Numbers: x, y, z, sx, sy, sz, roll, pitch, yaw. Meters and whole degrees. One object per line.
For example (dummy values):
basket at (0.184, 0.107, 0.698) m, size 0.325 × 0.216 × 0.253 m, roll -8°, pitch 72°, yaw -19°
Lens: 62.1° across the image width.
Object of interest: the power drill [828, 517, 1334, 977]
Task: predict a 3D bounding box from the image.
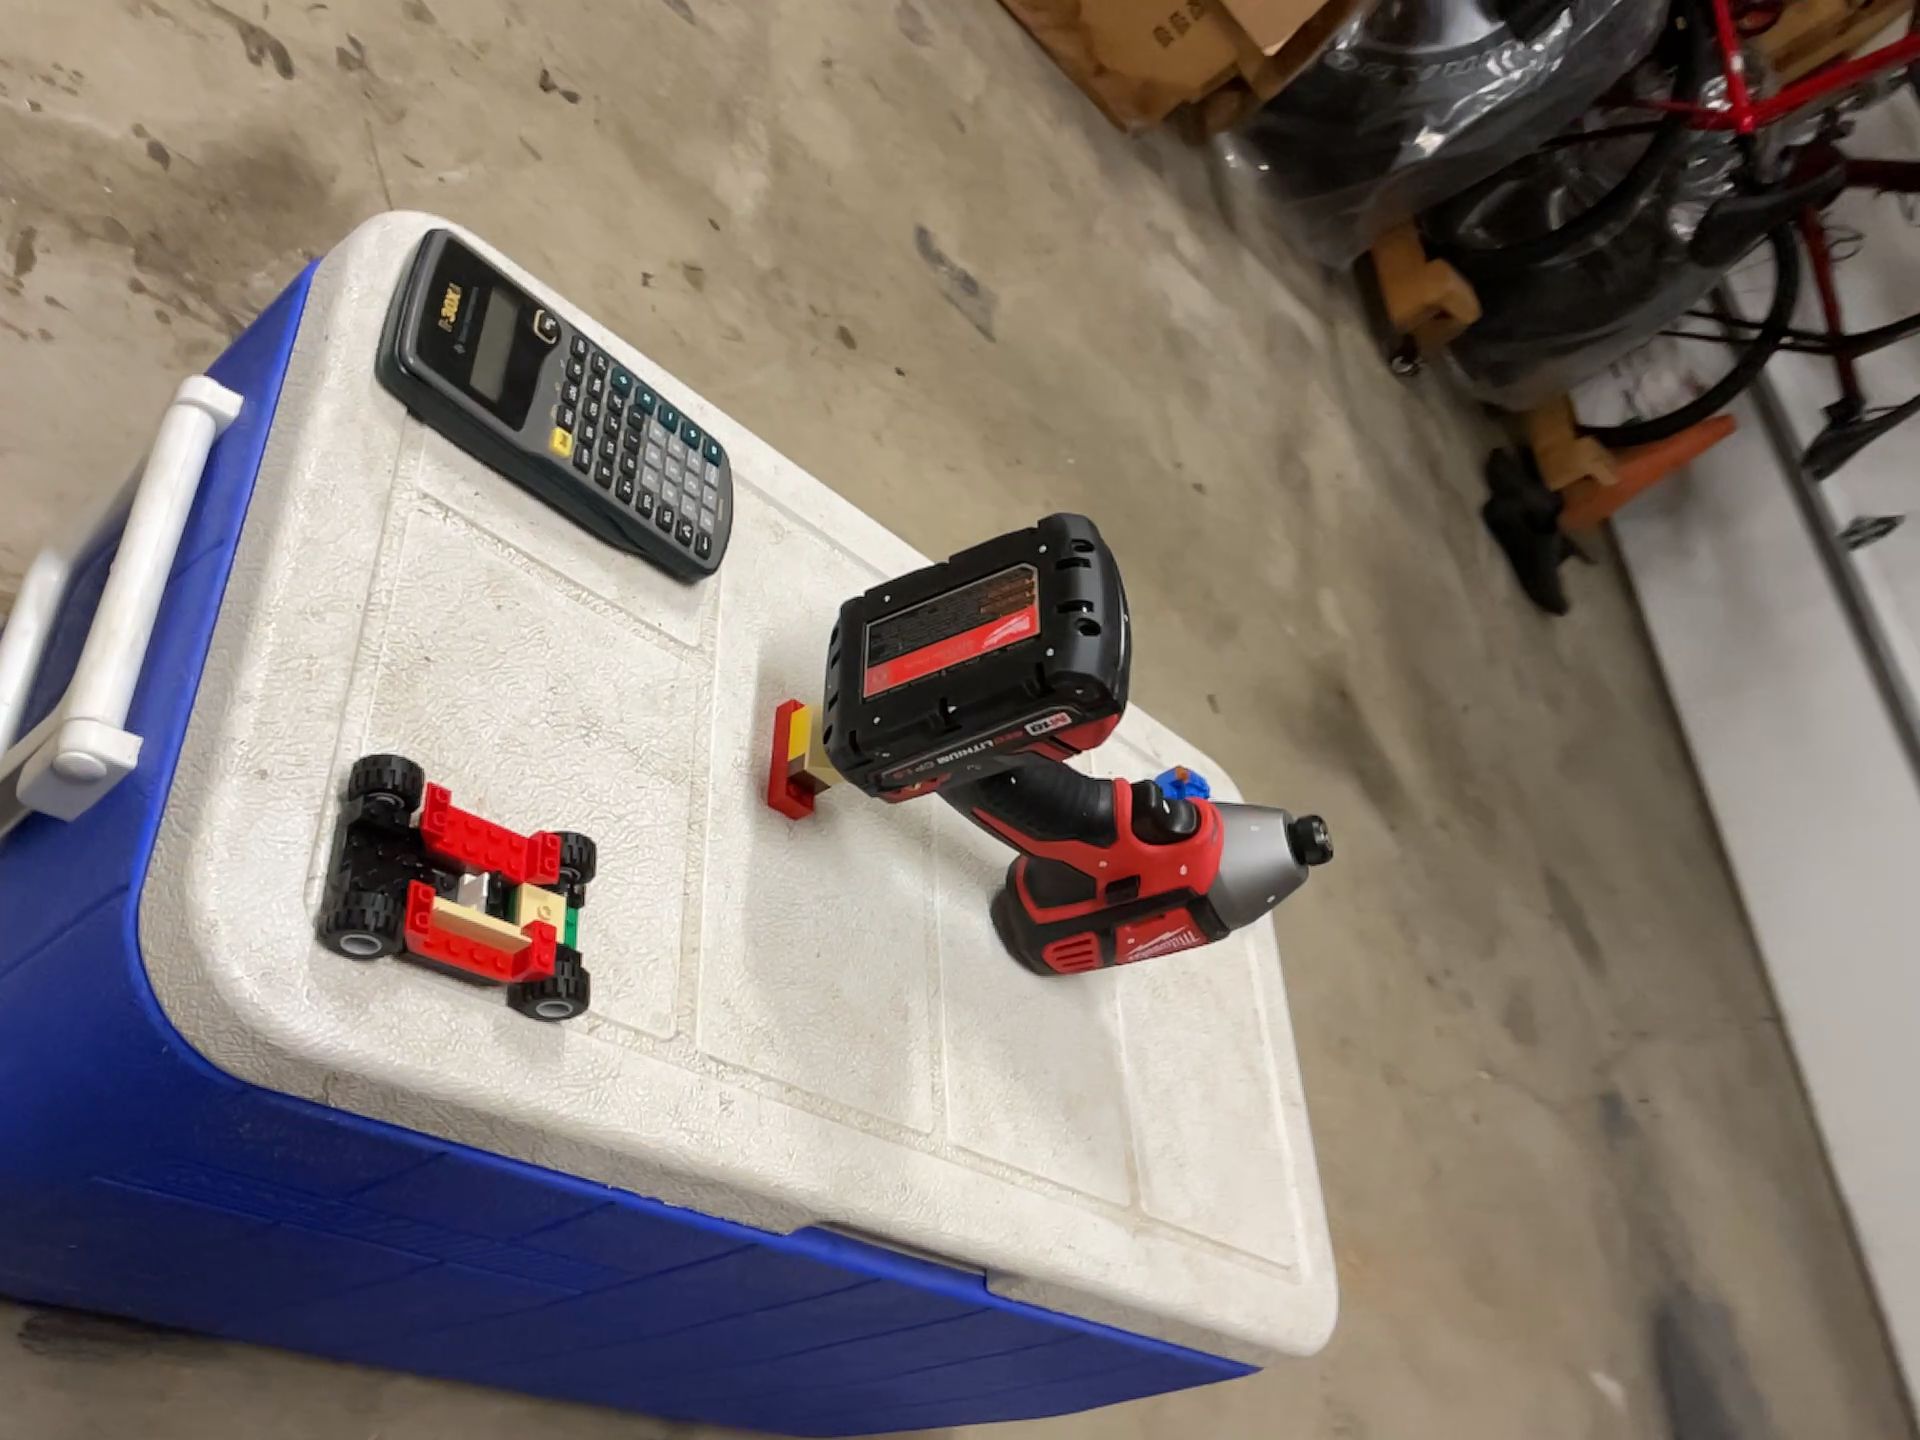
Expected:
power drill at (0.054, 0.026, 0.641) m, size 0.219 × 0.143 × 0.079 m, roll 50°, pitch 31°, yaw -44°
